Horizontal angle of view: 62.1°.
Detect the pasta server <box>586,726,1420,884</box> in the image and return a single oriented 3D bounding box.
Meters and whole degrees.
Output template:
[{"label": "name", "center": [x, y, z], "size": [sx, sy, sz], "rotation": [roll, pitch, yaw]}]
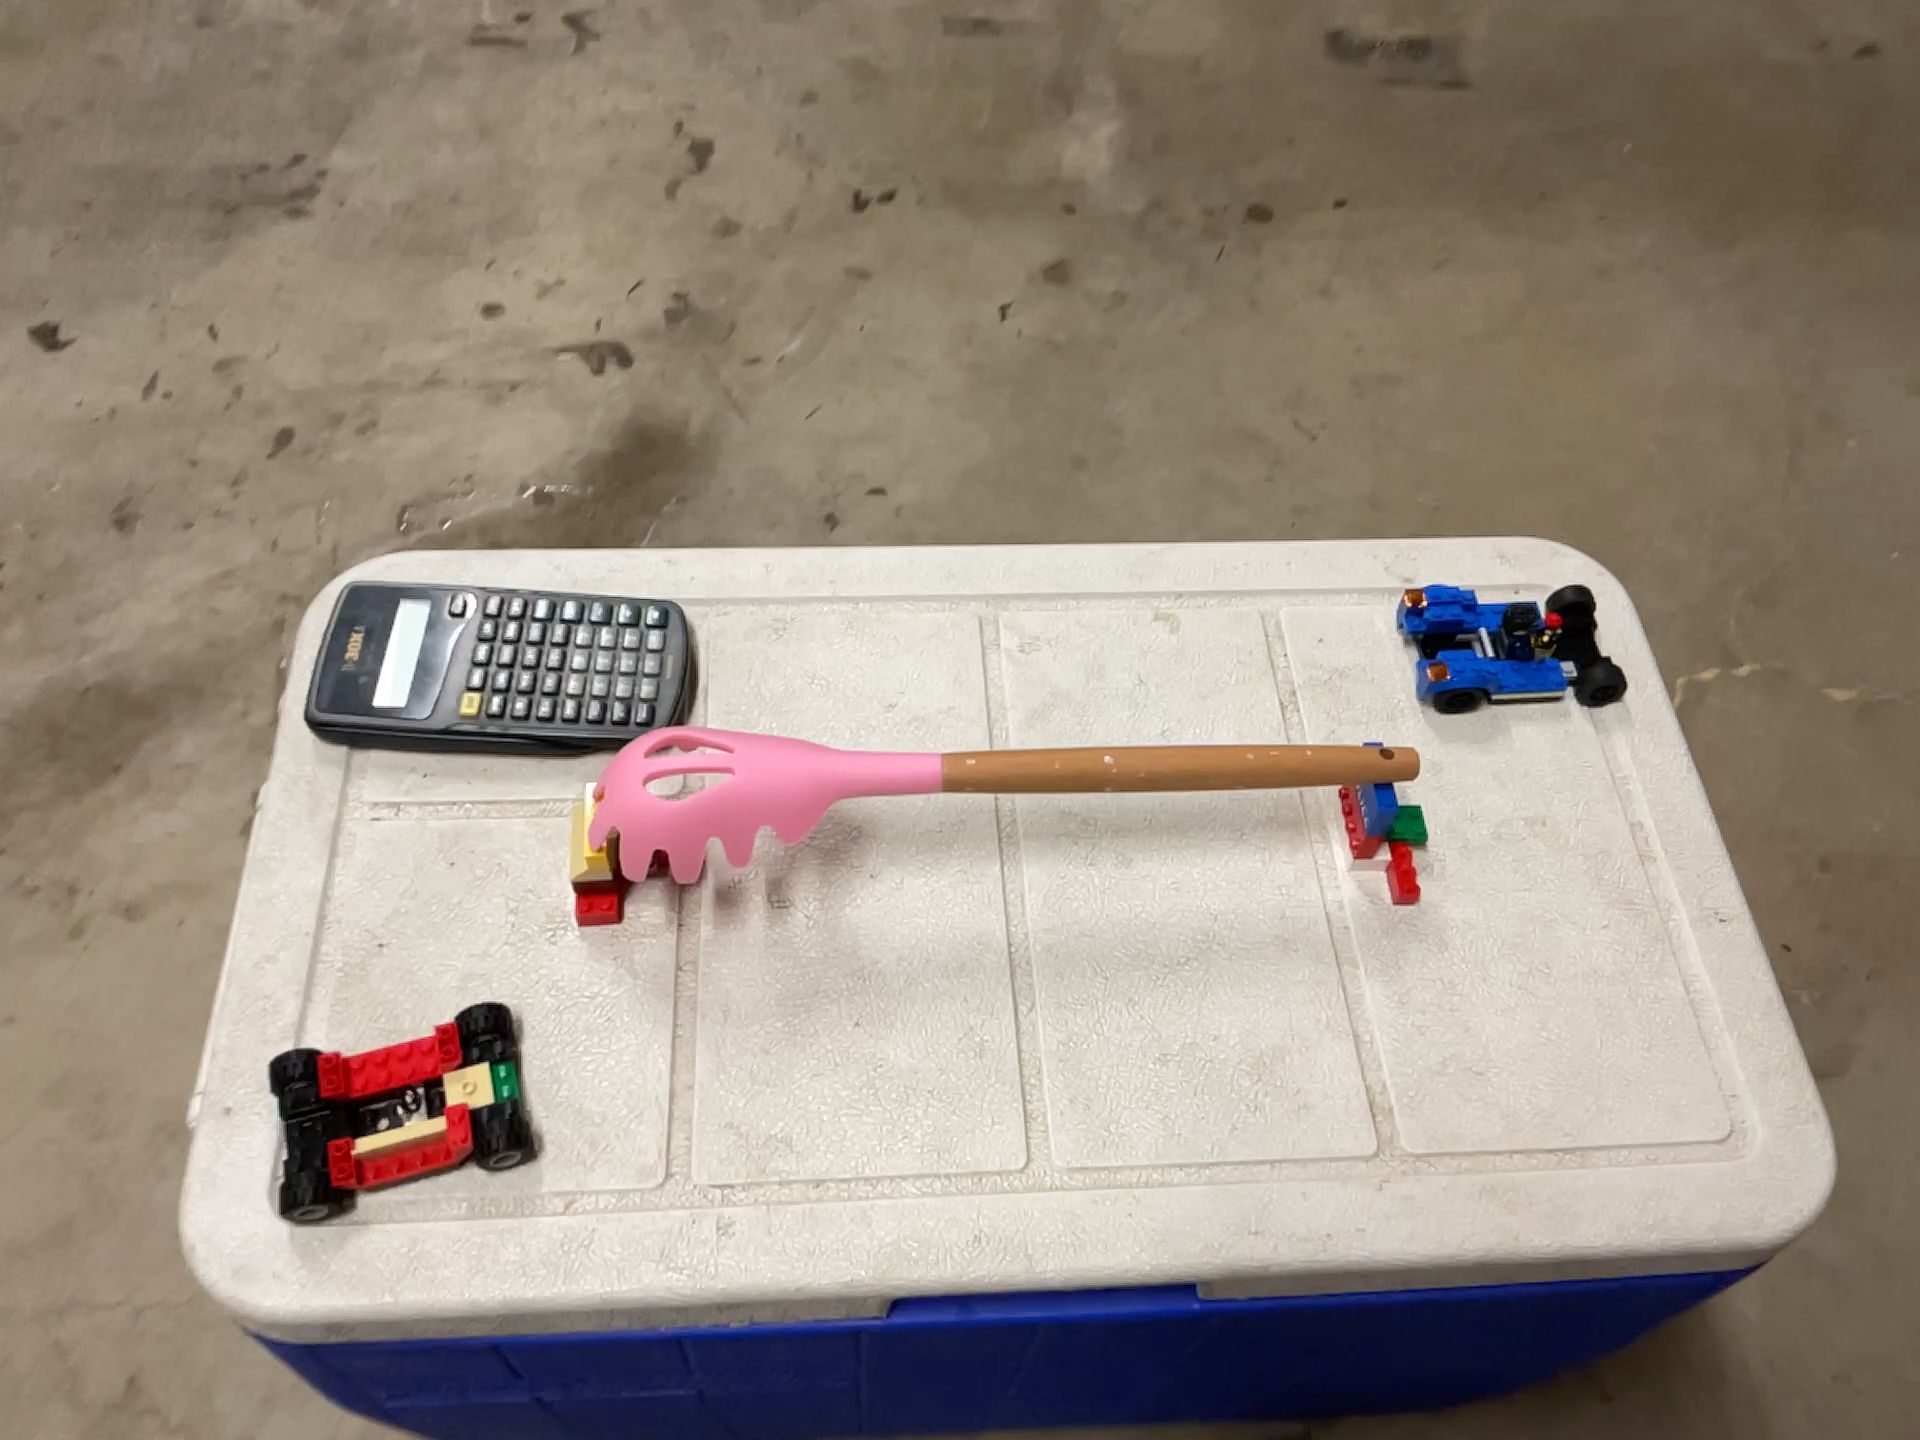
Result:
[{"label": "pasta server", "center": [0.019, 0.024, 0.604], "size": [0.316, 0.040, 0.060], "rotation": [-1, 55, -8]}]
